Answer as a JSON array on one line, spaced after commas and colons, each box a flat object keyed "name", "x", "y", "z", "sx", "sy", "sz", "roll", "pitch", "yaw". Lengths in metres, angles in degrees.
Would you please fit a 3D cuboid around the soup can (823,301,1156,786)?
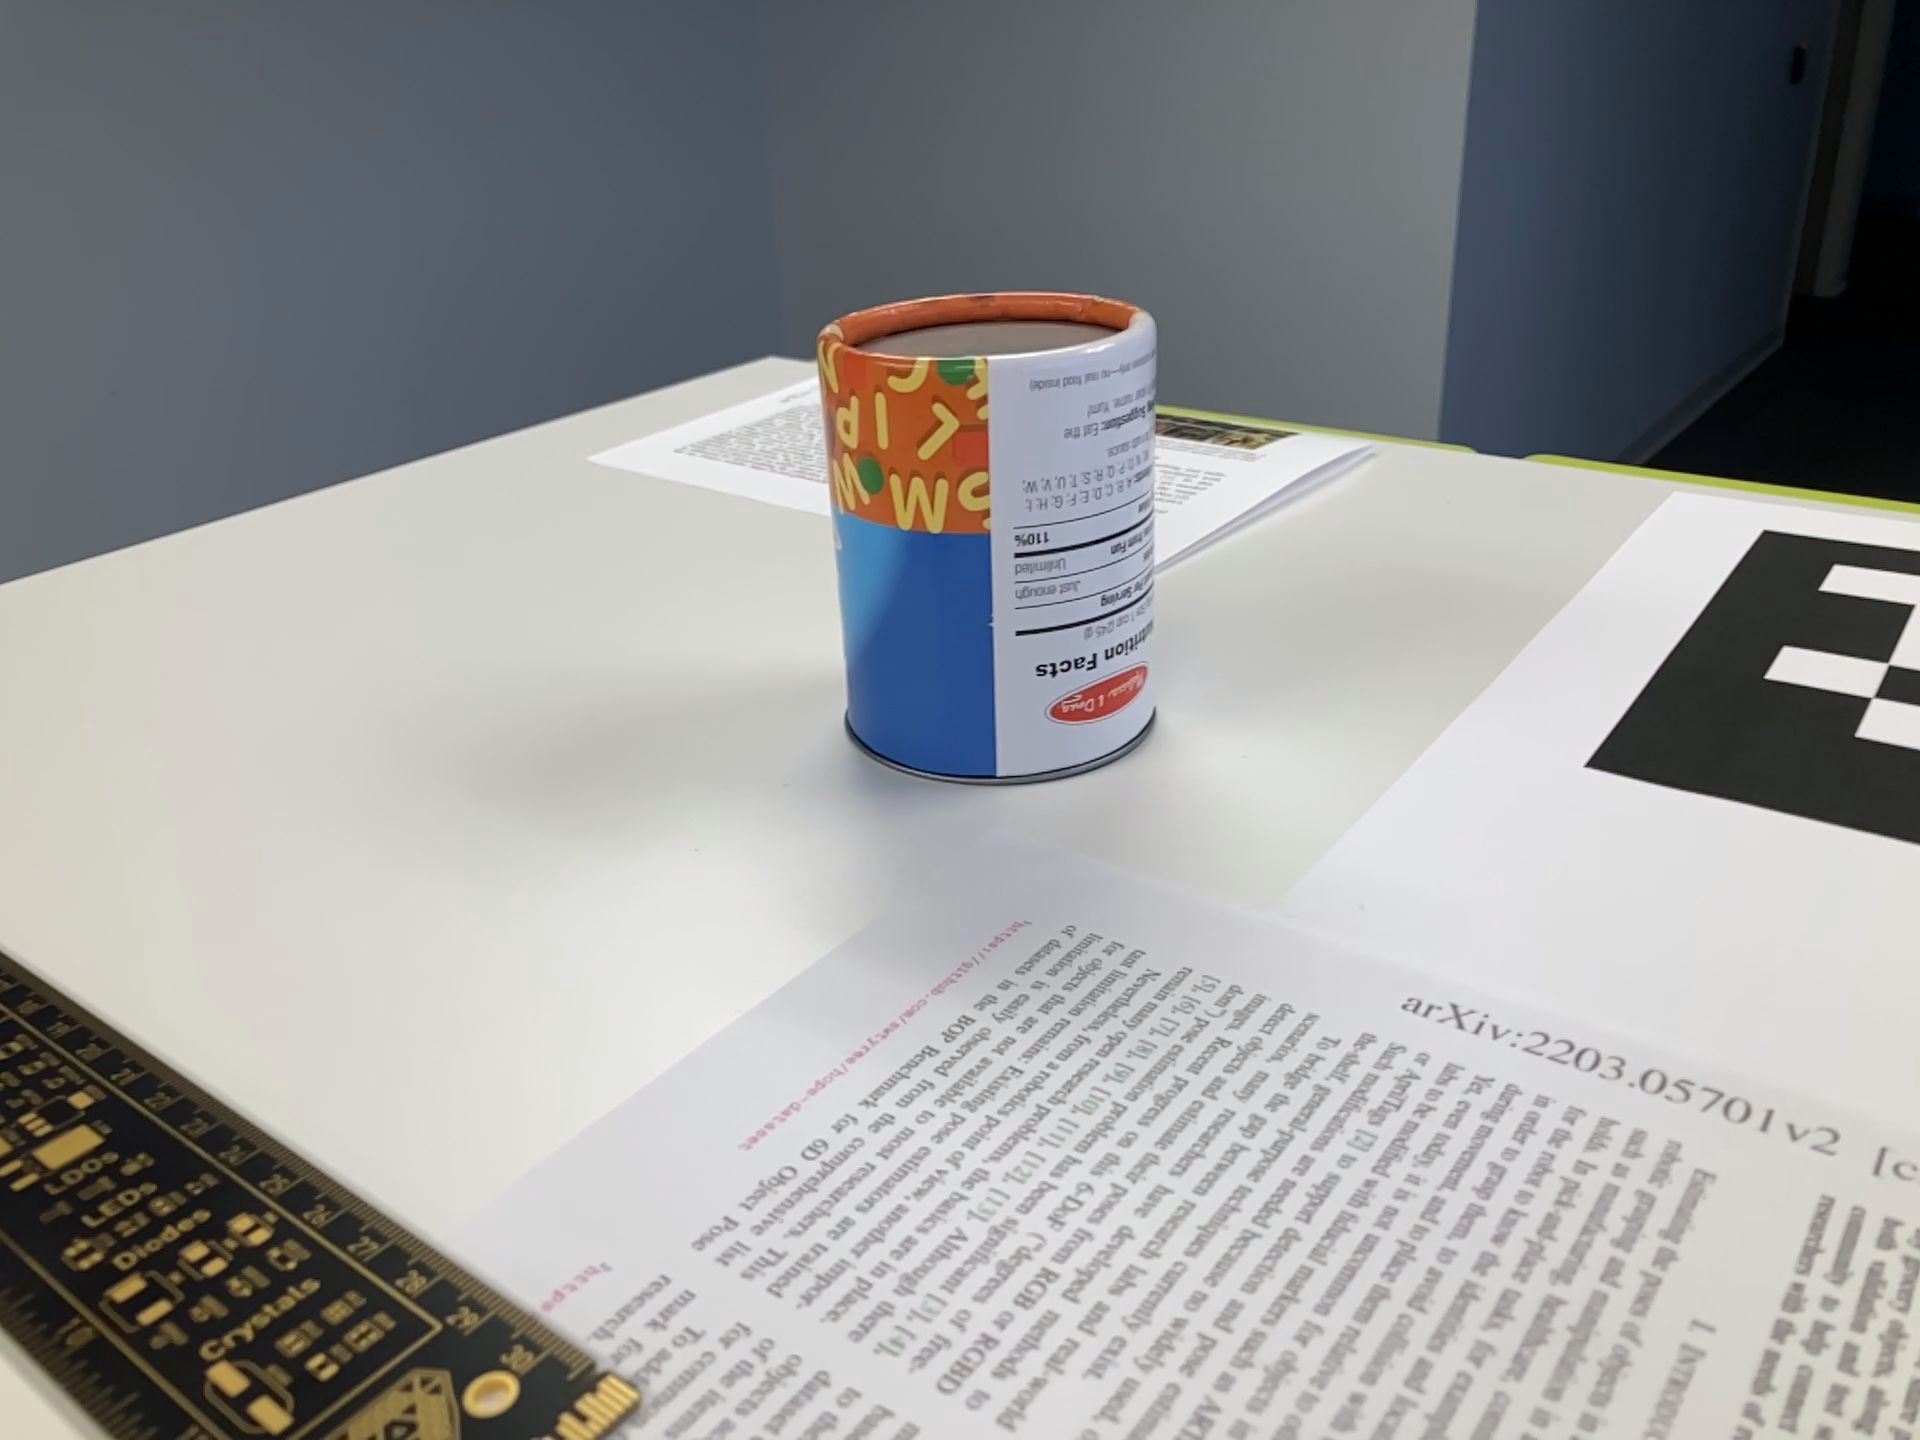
[{"name": "soup can", "x": 0.005, "y": -0.039, "z": 0.327, "sx": 0.071, "sy": 0.084, "sz": 0.071, "roll": -2, "pitch": 24, "yaw": 1}]
